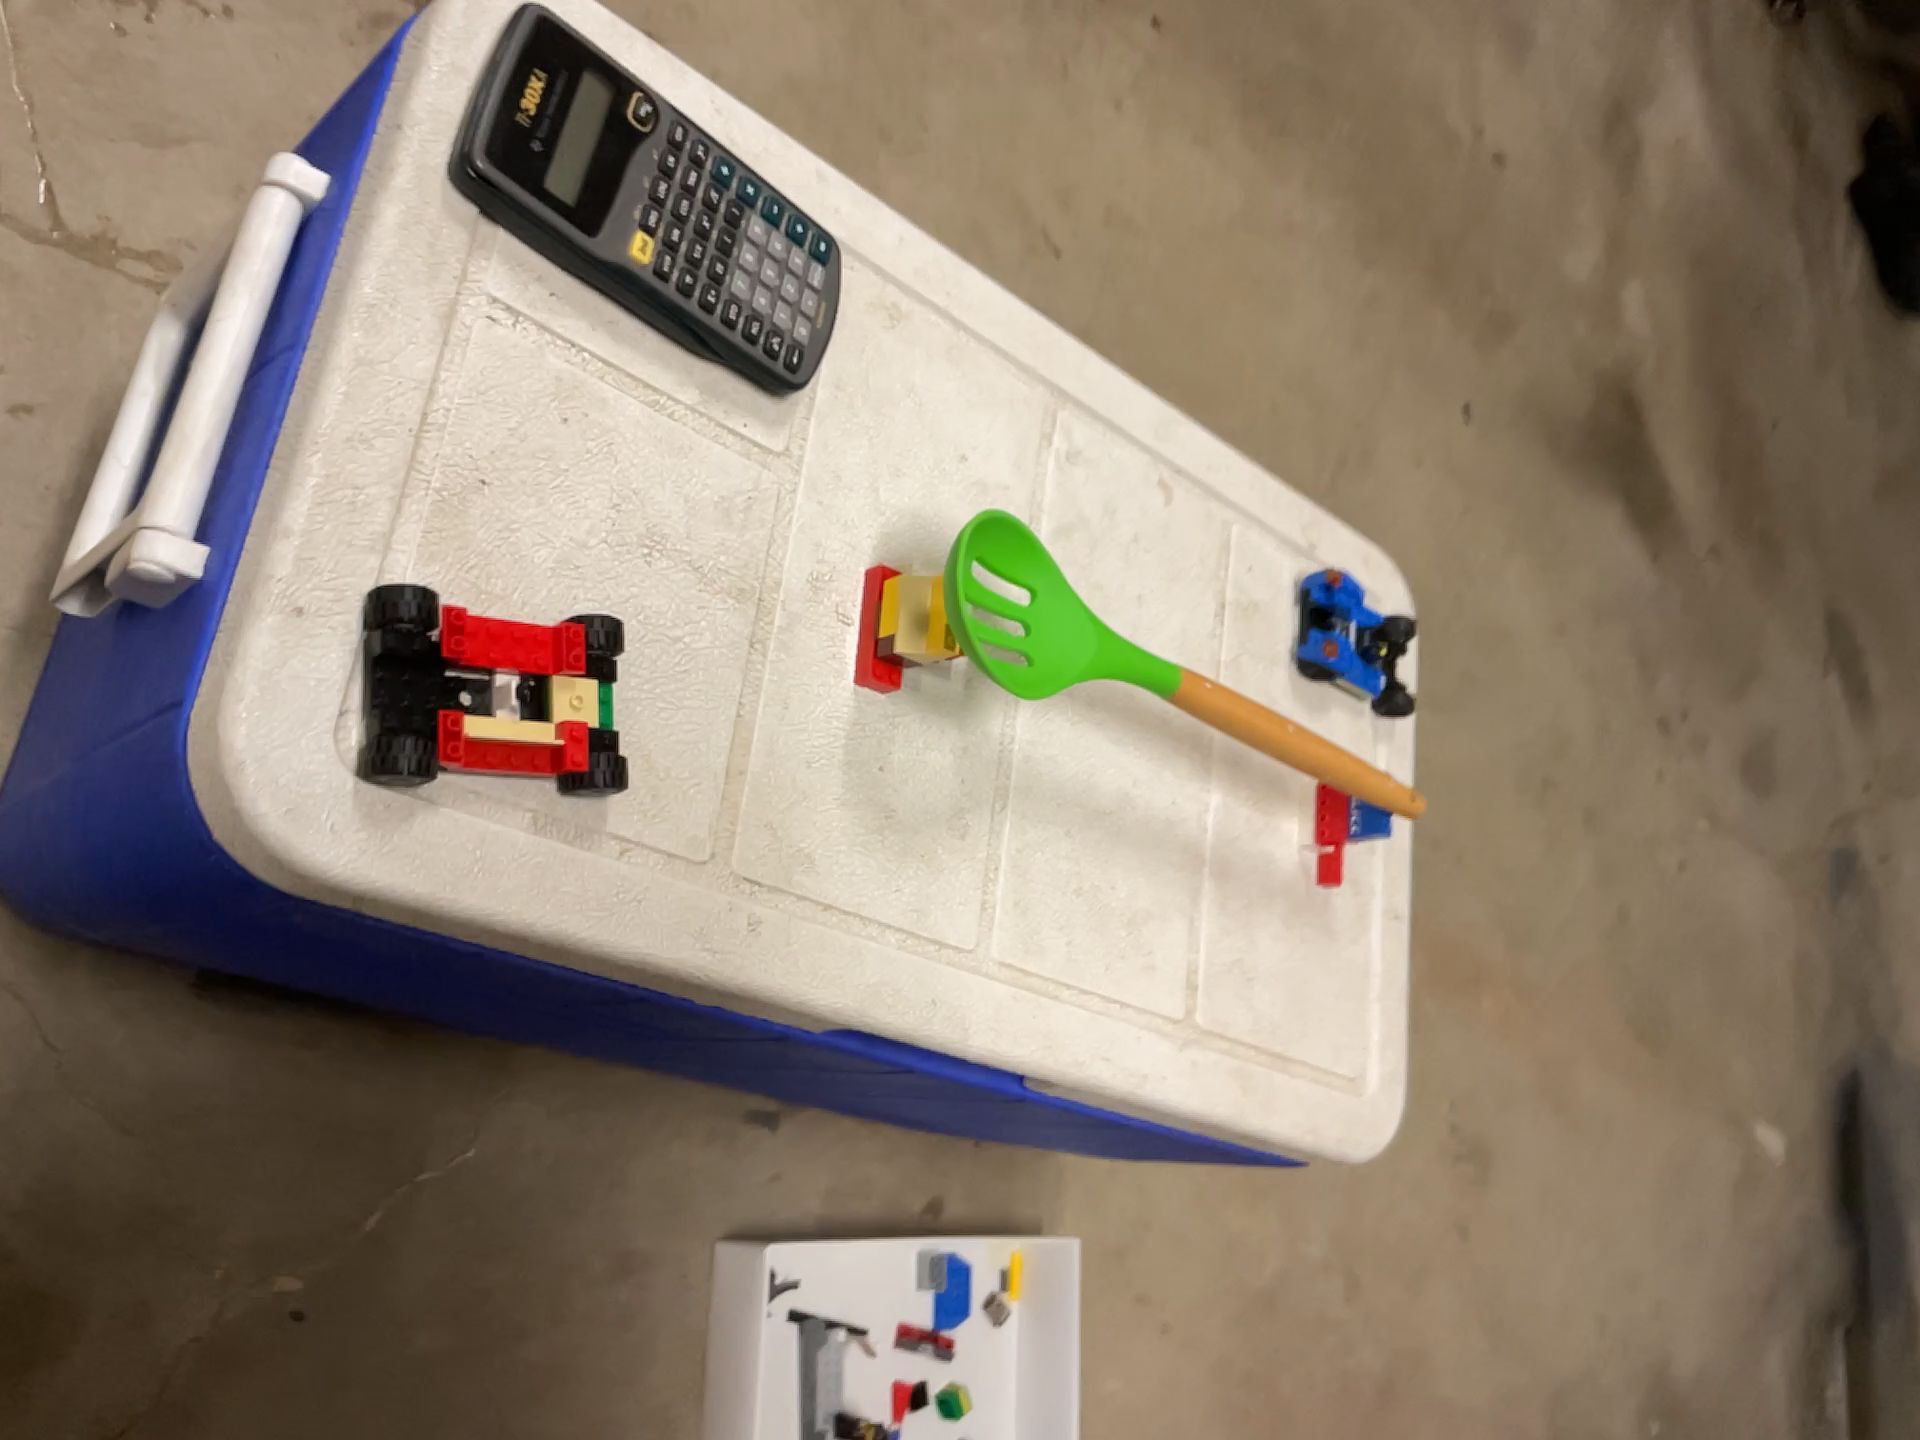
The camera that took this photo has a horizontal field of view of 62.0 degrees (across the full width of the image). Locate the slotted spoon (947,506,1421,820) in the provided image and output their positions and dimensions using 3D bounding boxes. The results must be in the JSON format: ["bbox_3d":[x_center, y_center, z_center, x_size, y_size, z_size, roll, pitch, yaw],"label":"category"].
[{"bbox_3d":[0.103,-0.006,0.664,0.314,0.031,0.070,23,62,-39],"label":"slotted spoon"}]
